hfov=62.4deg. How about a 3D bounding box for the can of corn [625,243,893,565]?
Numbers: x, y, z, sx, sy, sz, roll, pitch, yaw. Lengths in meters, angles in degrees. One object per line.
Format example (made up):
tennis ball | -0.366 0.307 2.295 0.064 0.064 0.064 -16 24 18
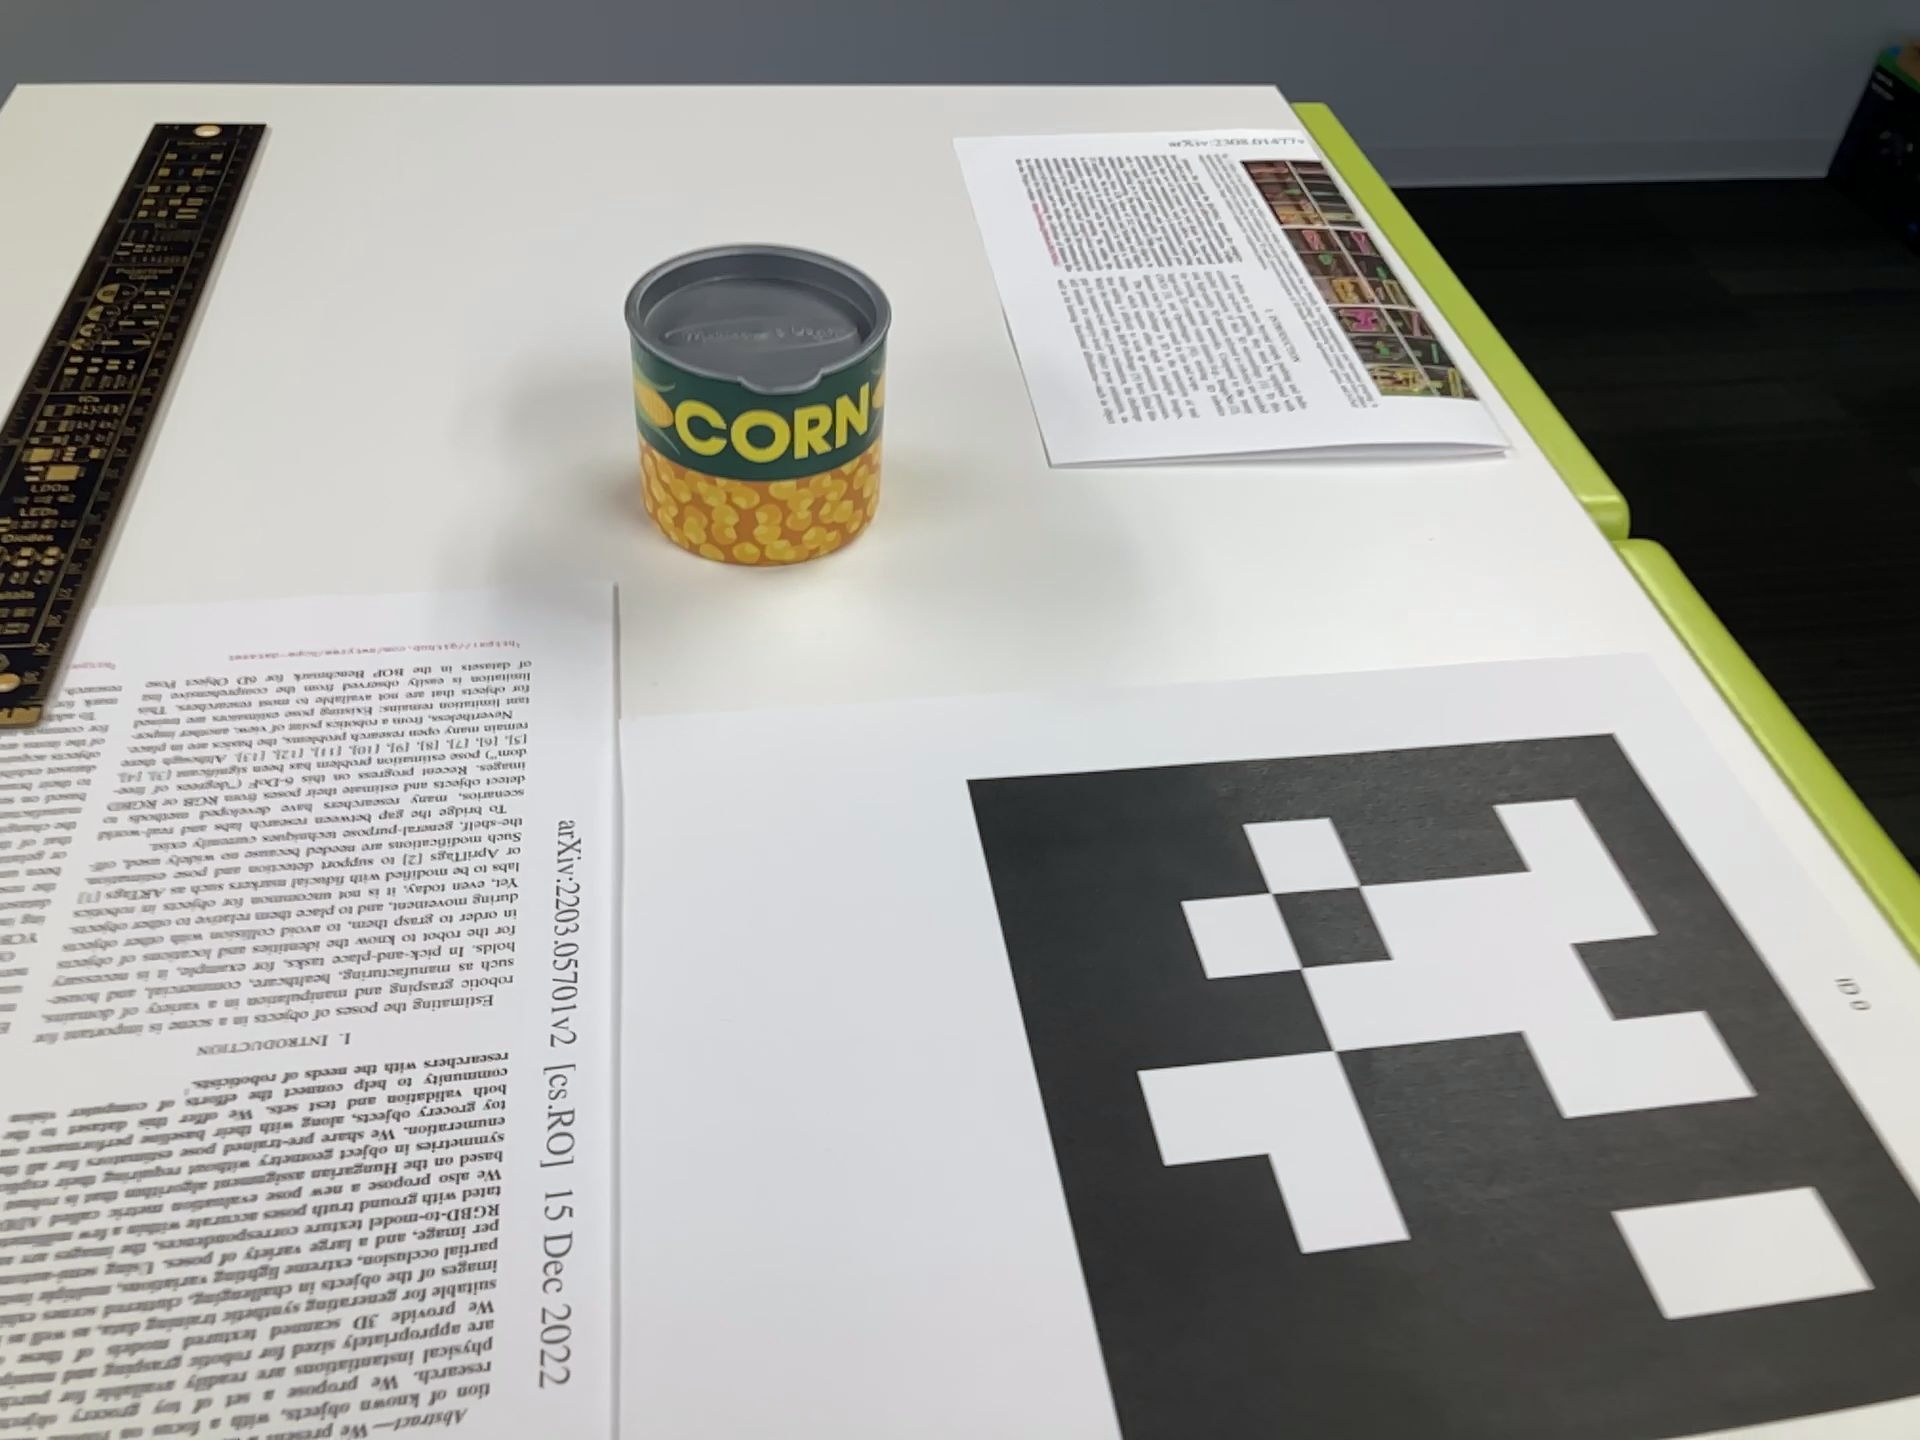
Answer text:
can of corn | -0.052 -0.081 0.414 0.071 0.058 0.071 3 44 -3
